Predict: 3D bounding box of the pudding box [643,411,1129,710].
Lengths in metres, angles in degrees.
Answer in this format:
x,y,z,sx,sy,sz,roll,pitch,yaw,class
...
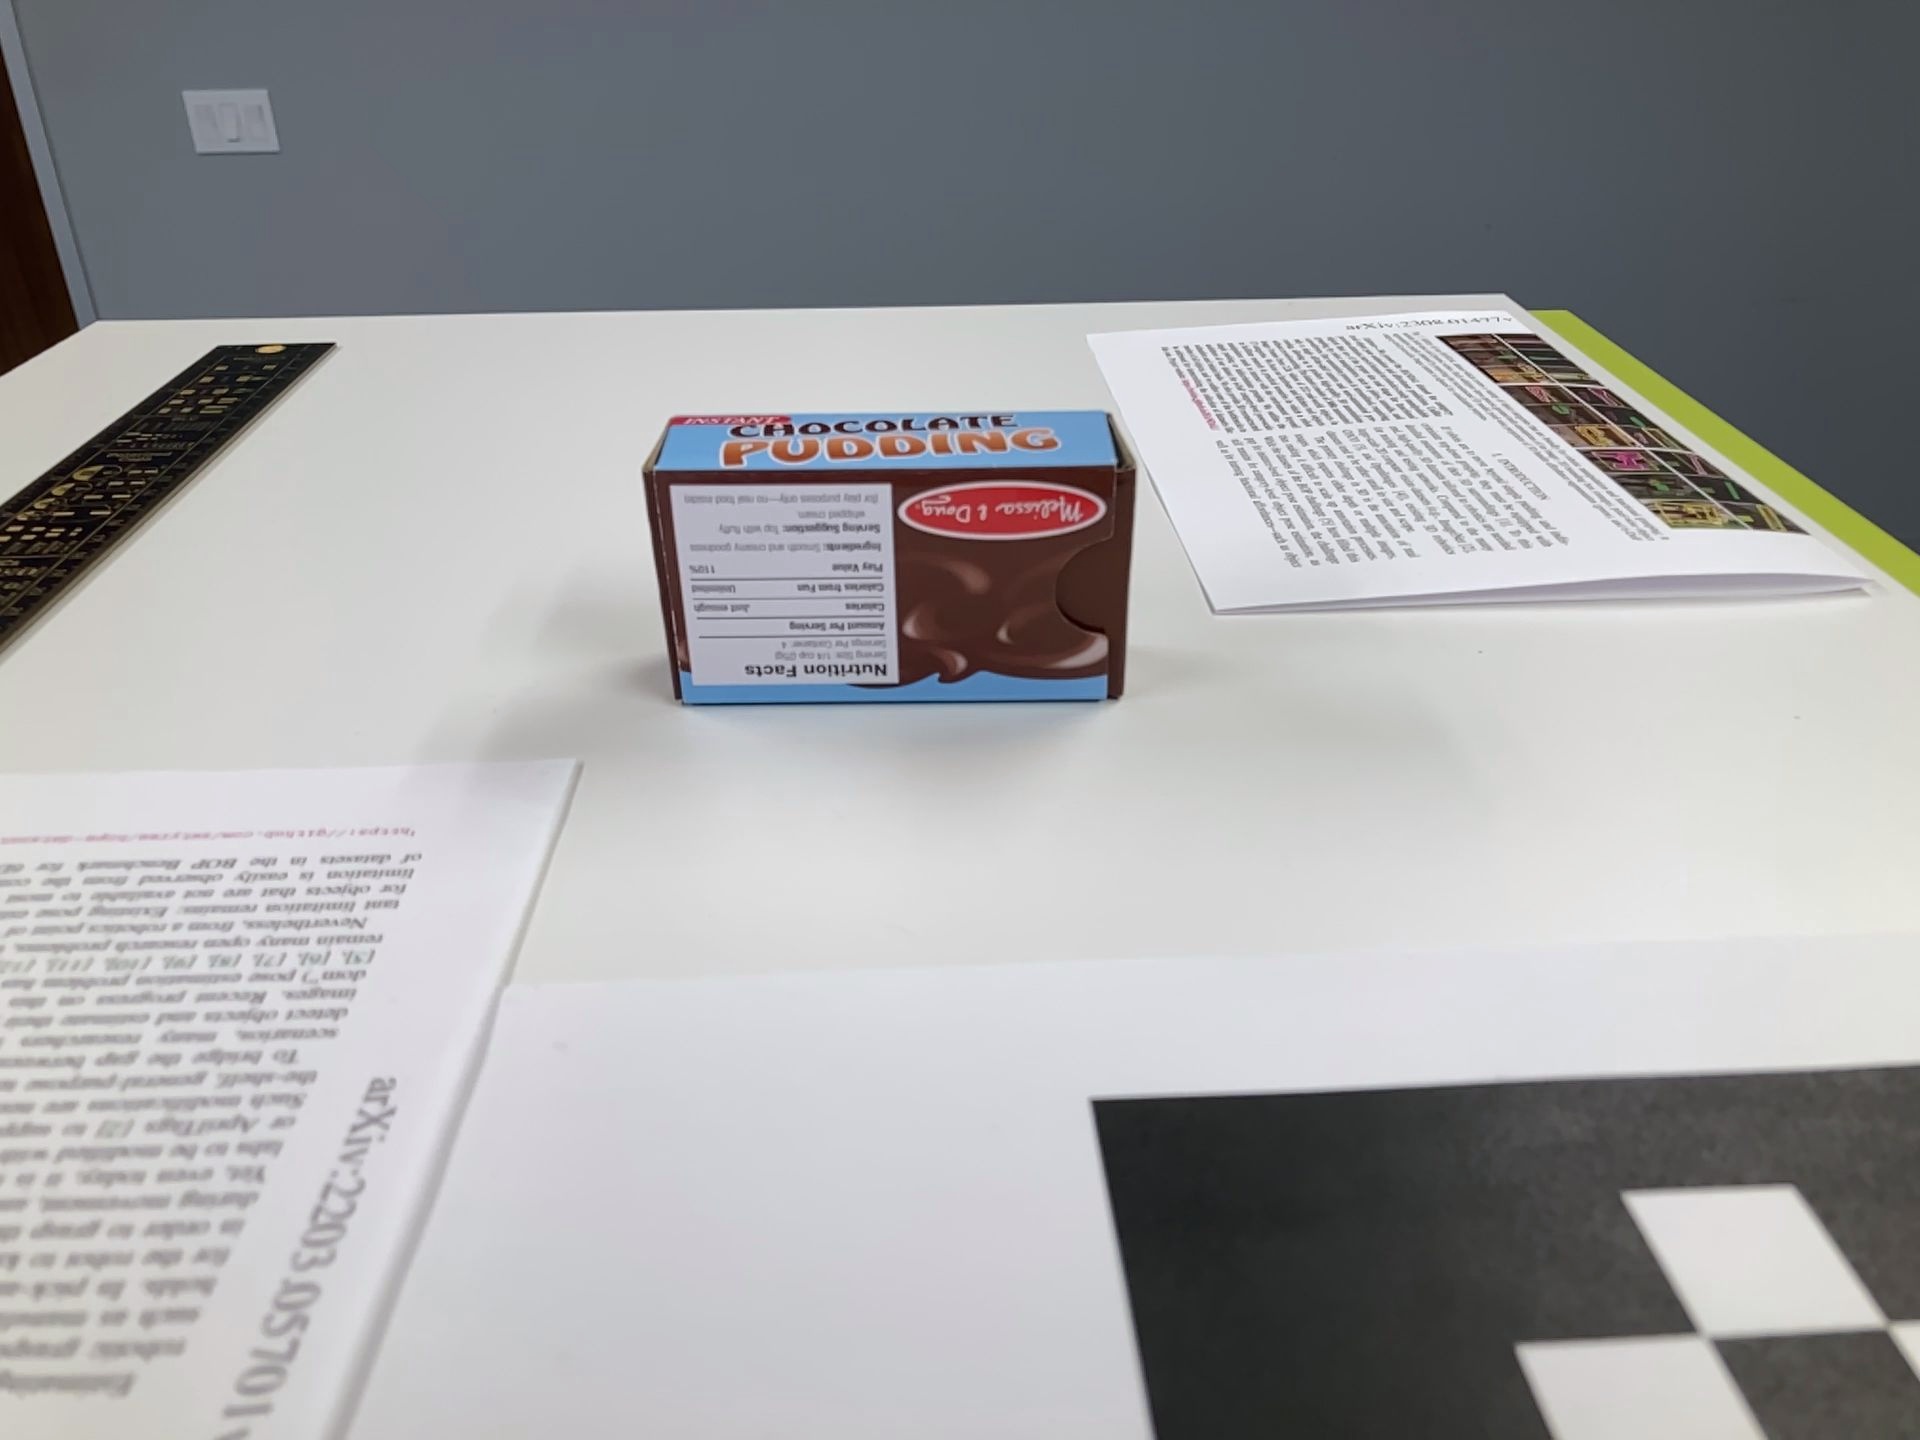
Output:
x,y,z,sx,sy,sz,roll,pitch,yaw,class
-0.013,-0.029,0.294,0.083,0.049,0.030,-1,31,0,pudding box
